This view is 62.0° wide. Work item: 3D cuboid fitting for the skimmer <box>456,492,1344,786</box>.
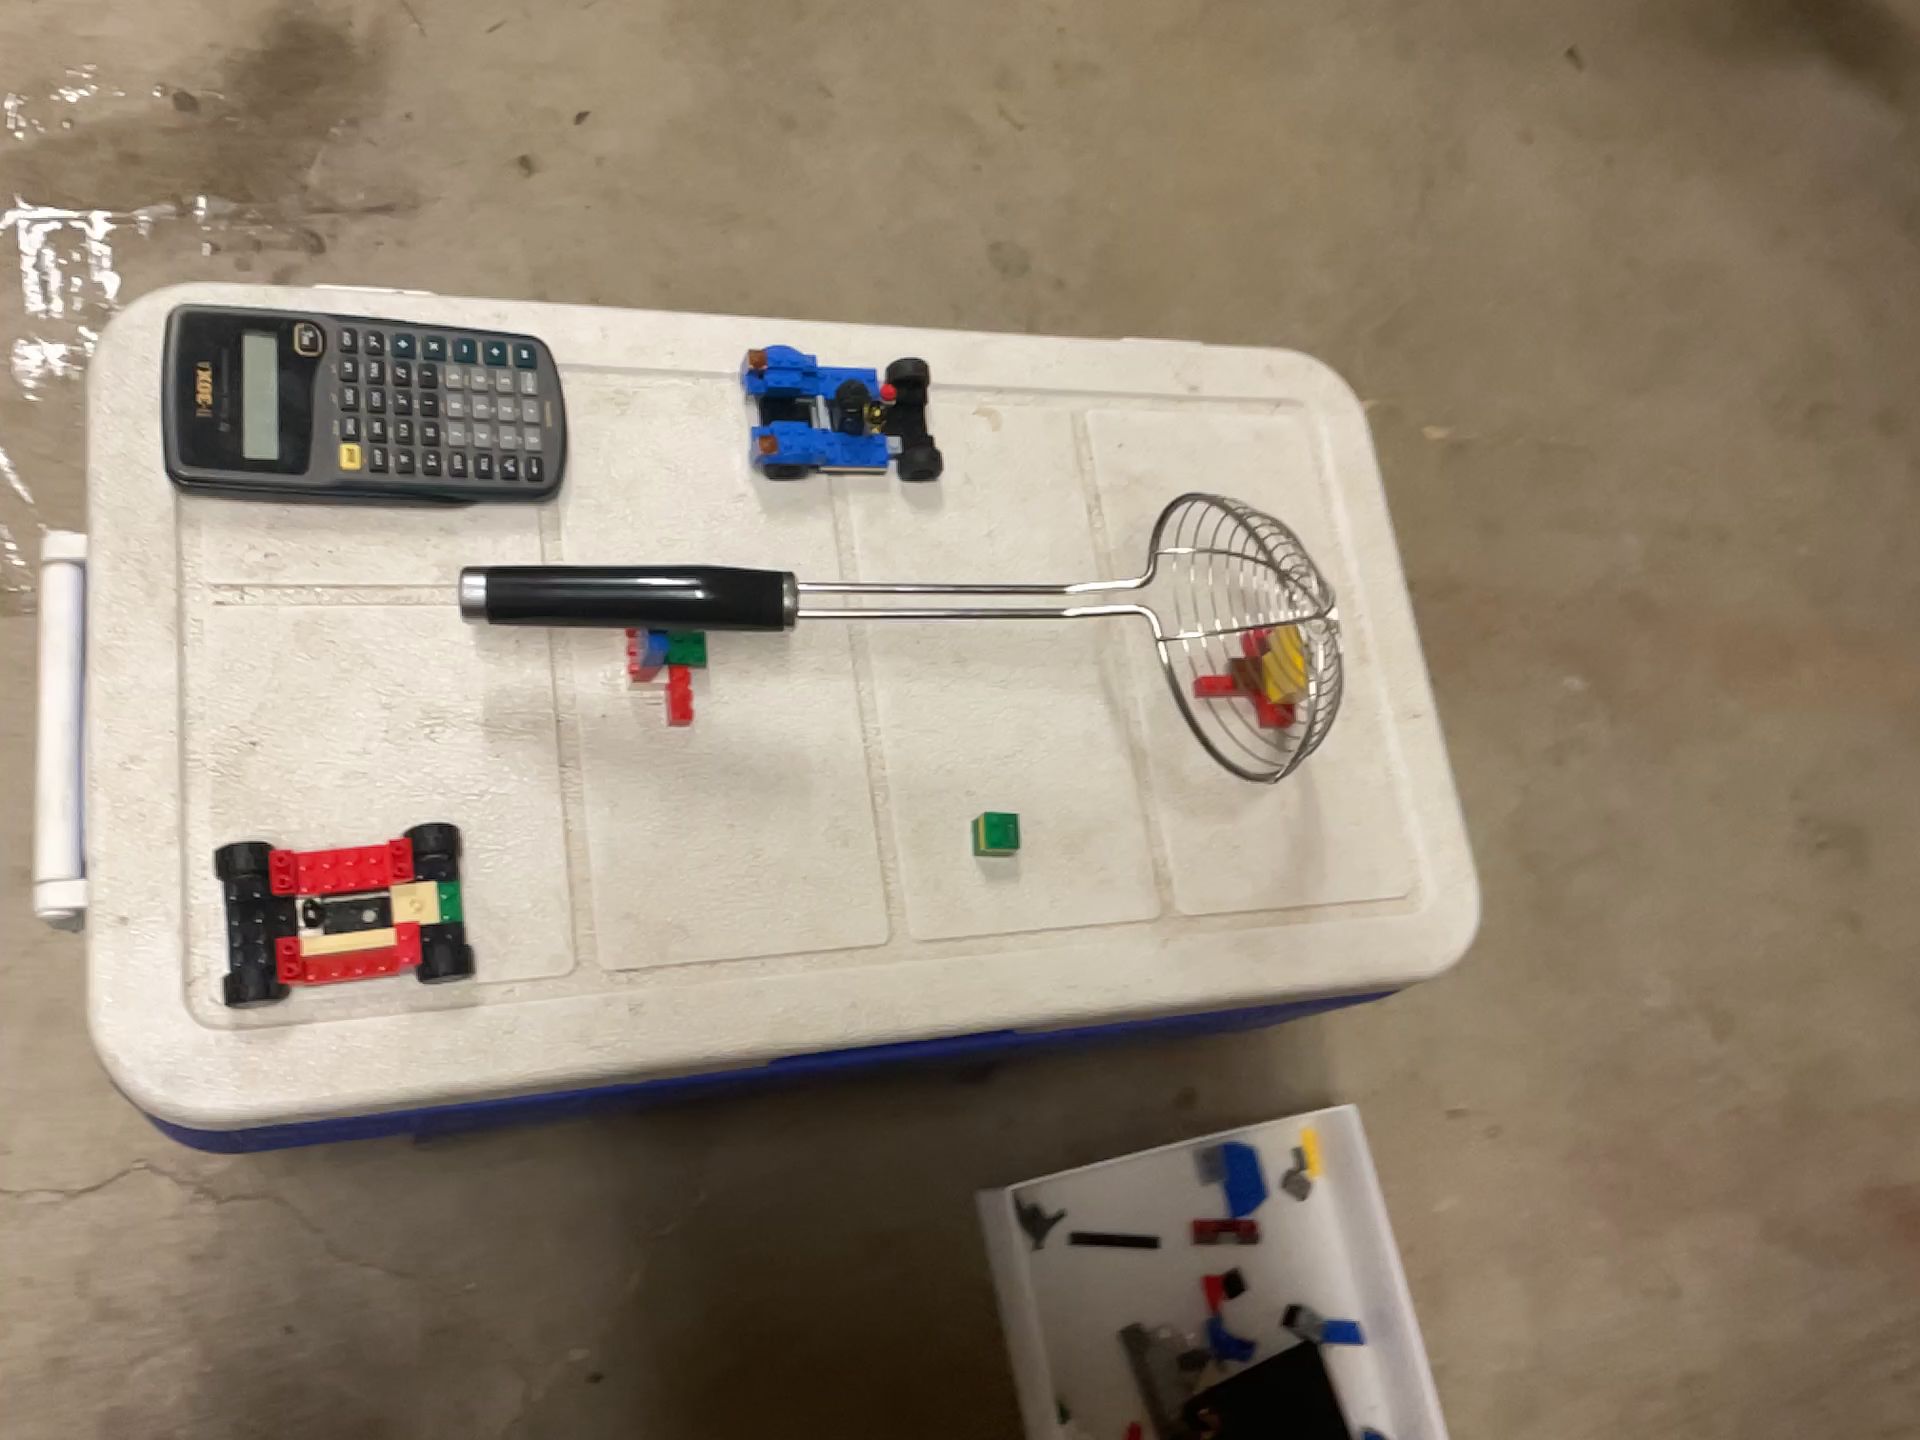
[{"bbox_3d":[-0.011,-0.036,0.651,0.363,0.090,0.127,0,72,-10],"label":"skimmer"}]
